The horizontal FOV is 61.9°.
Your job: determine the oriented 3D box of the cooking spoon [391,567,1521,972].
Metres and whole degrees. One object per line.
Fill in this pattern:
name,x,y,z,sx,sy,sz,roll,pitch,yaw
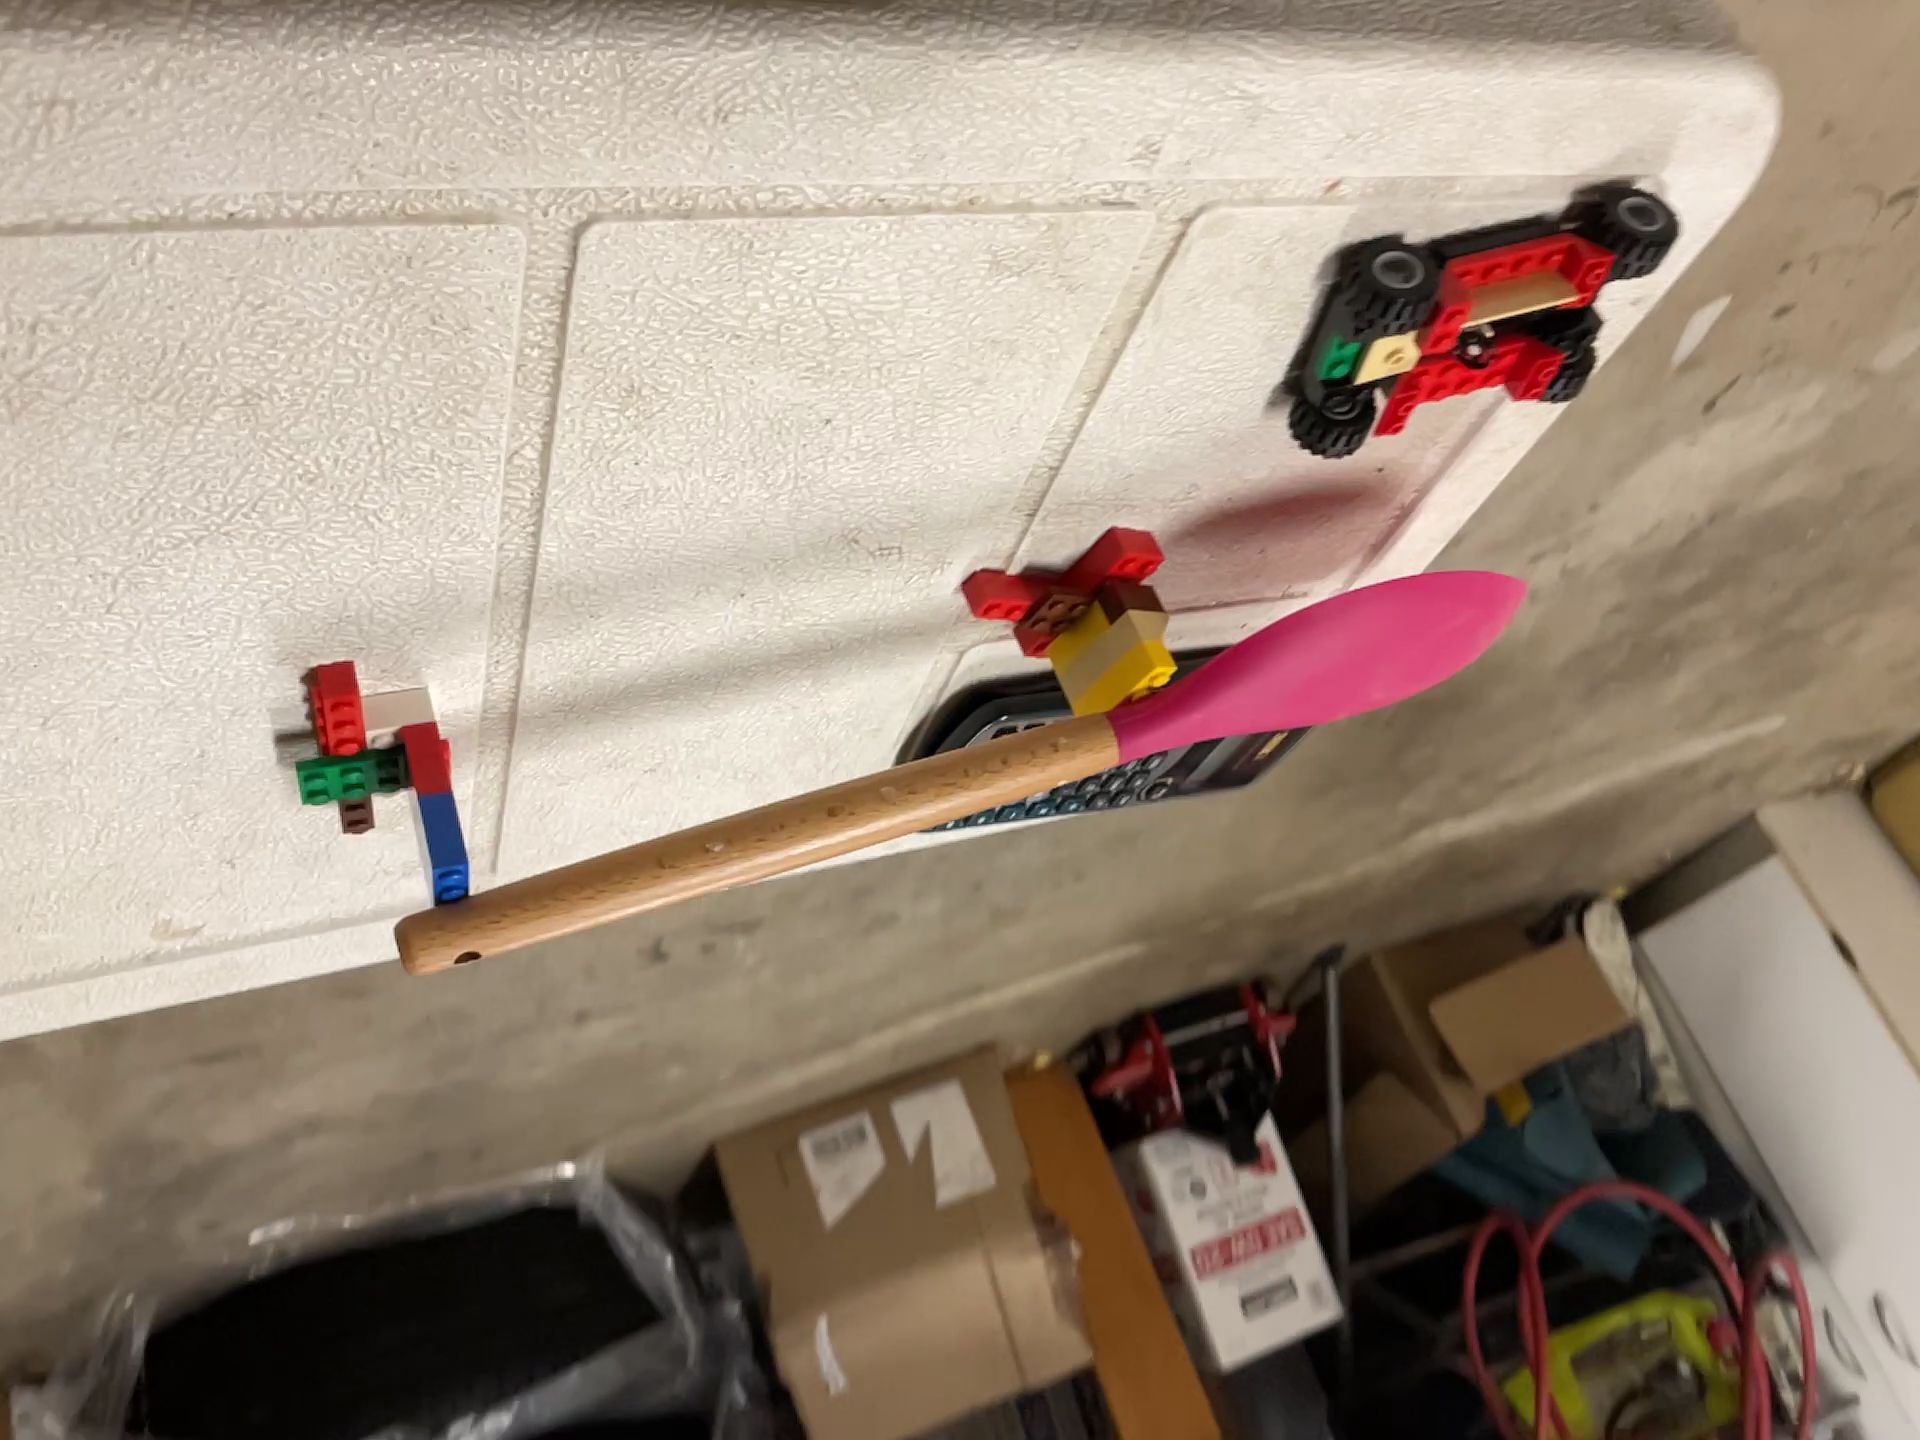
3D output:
cooking spoon,0.015,0.012,0.421,0.319,0.017,0.068,-15,150,-18
